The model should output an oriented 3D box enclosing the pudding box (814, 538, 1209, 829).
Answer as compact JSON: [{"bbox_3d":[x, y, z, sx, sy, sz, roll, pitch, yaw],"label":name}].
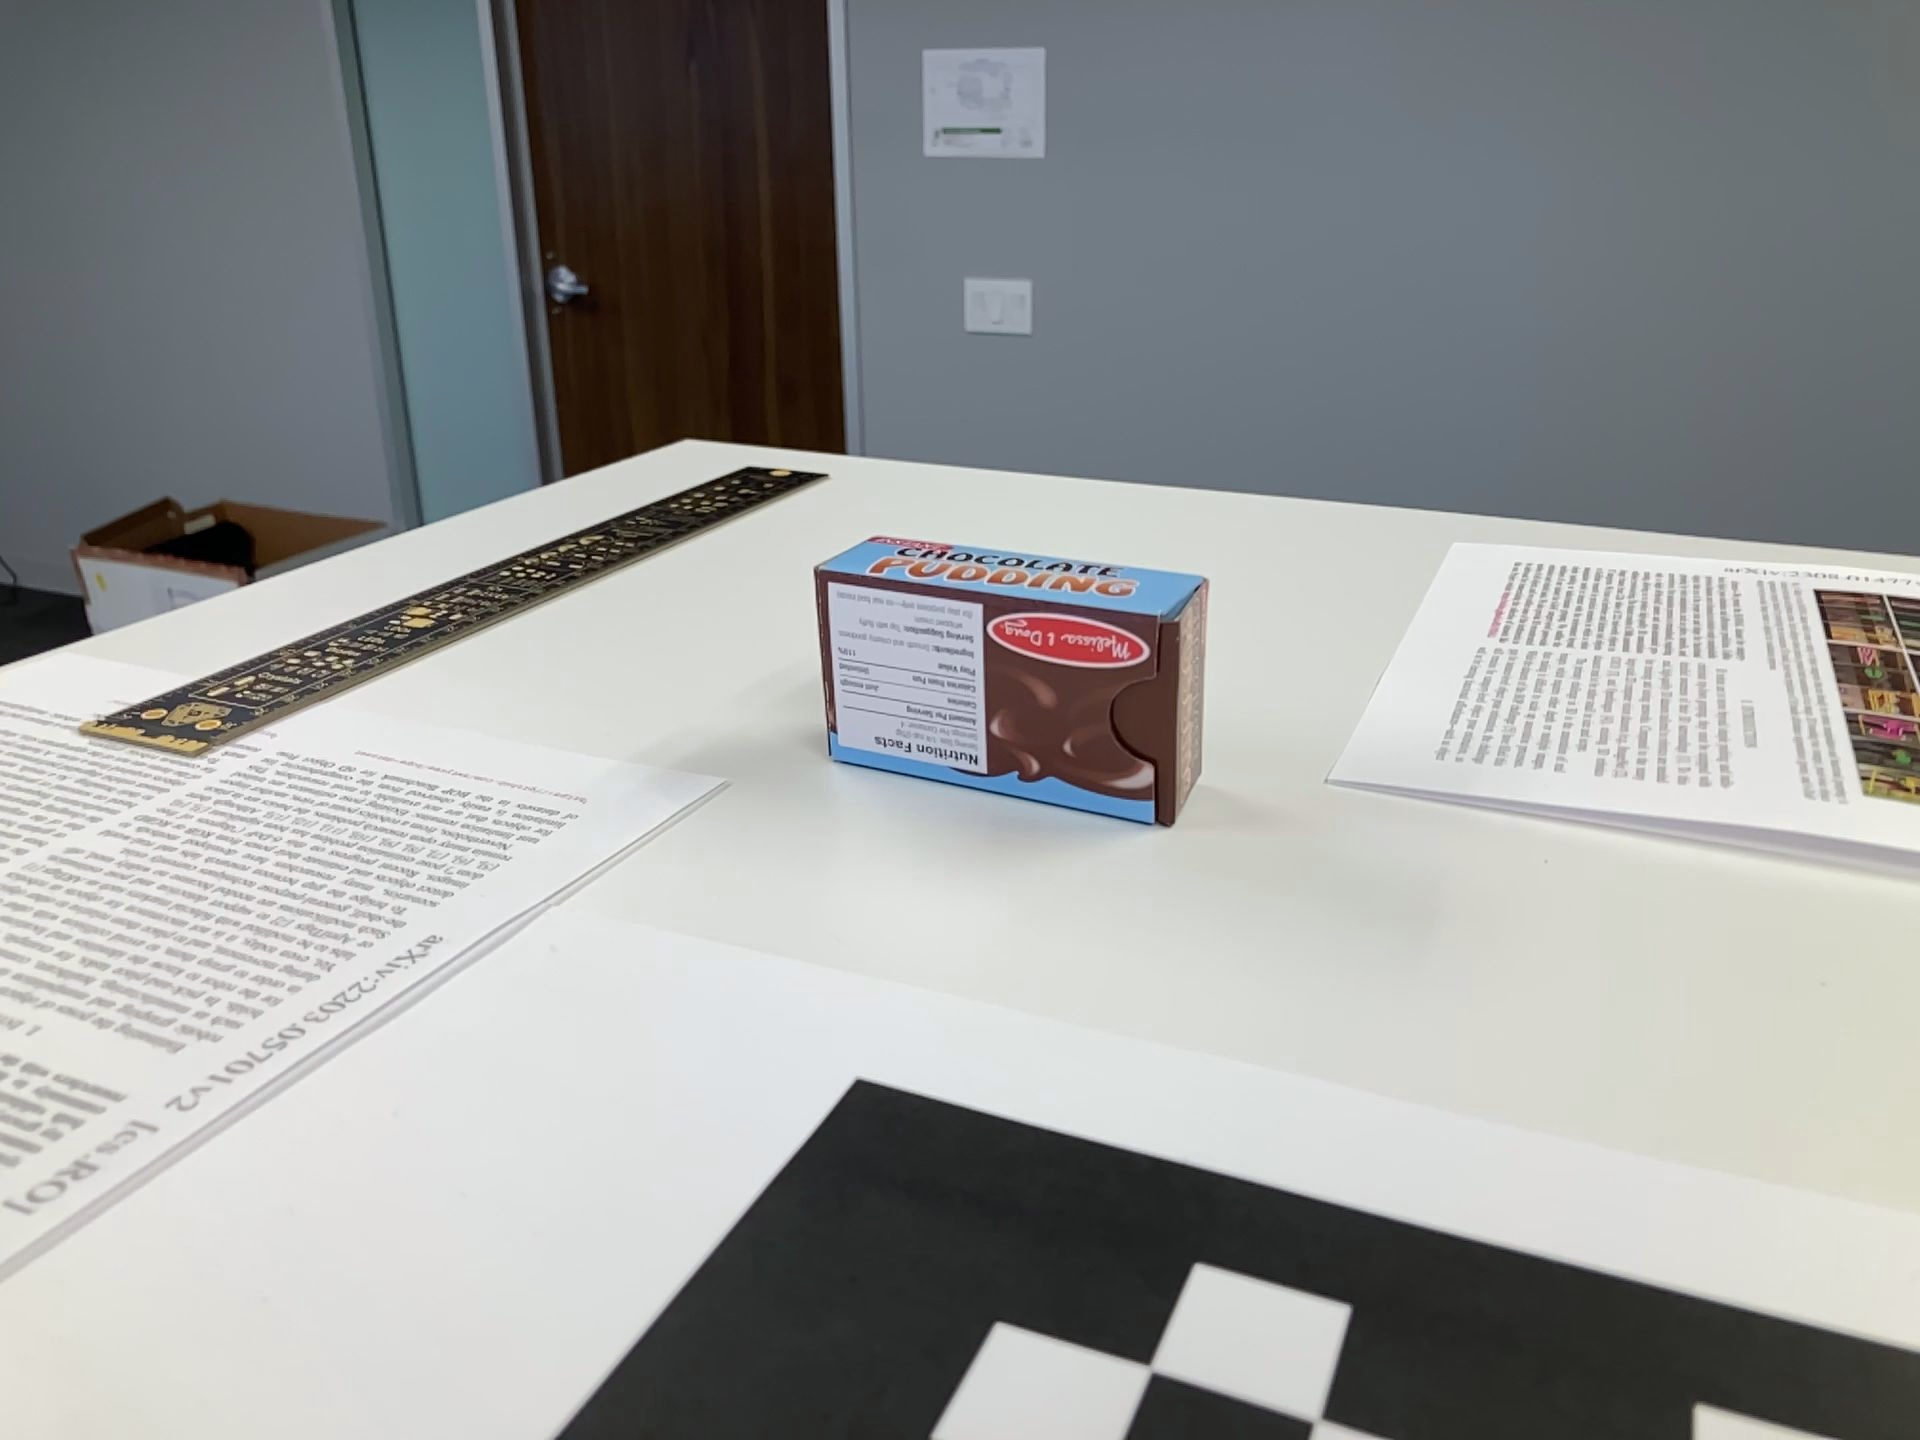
[{"bbox_3d":[0.011,-0.009,0.351,0.083,0.049,0.030,10,26,24],"label":"pudding box"}]
